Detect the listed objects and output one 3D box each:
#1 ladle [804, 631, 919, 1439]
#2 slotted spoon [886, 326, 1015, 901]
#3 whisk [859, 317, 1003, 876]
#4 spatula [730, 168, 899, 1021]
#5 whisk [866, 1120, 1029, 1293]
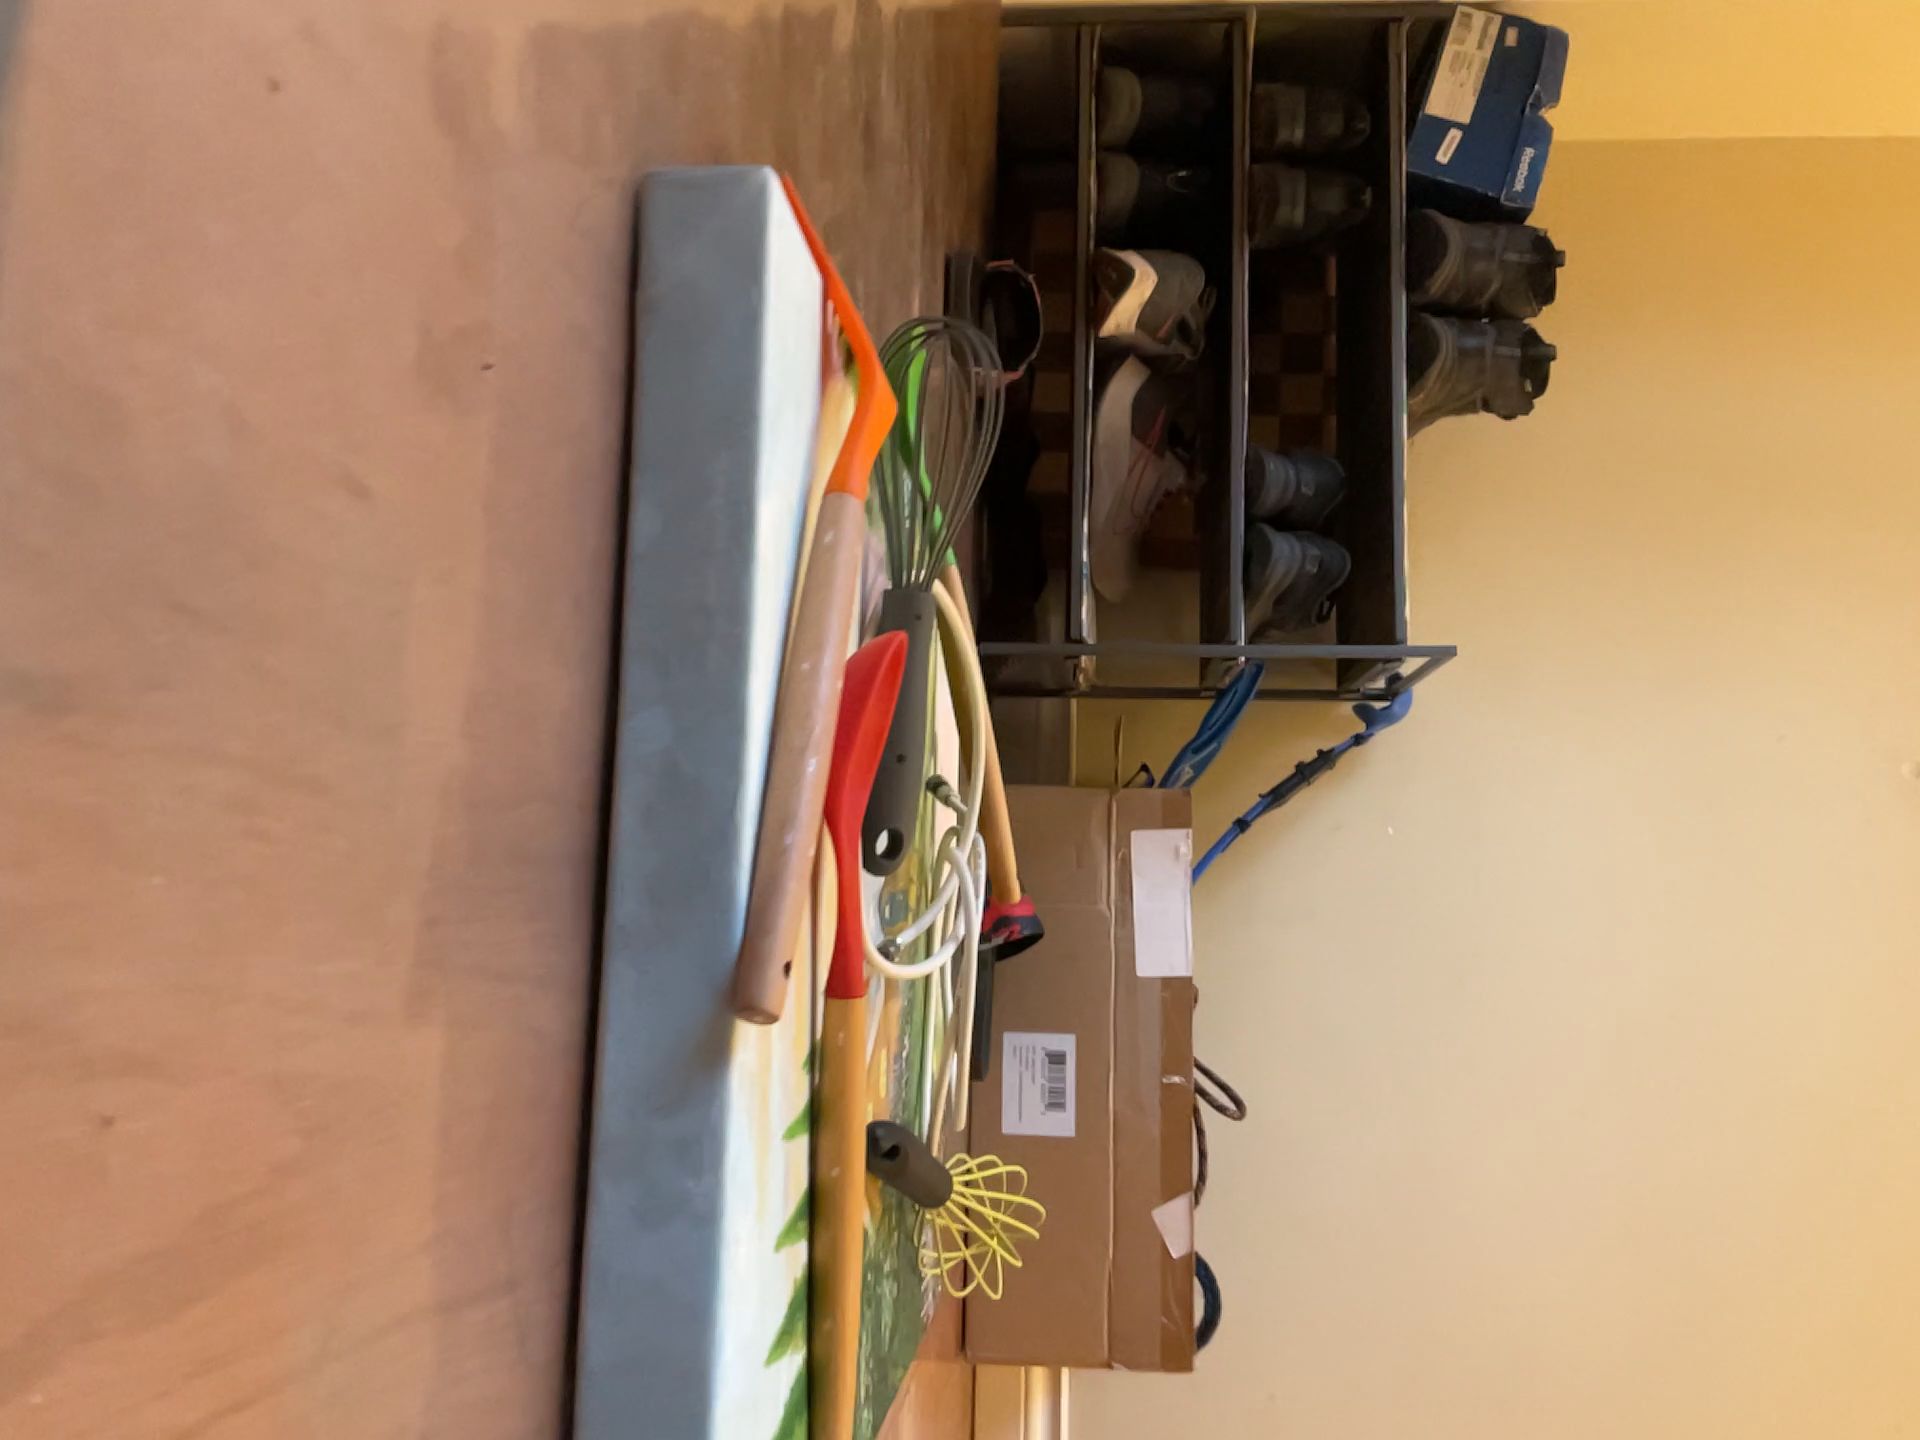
[{"bbox_3d":[-0.041,0.124,0.577,0.069,0.031,0.315,-5,99,-84],"label":"ladle"},{"bbox_3d":[-0.005,-0.059,0.856,0.070,0.031,0.314,48,32,-83],"label":"slotted spoon"},{"bbox_3d":[-0.019,-0.052,0.673,0.055,0.055,0.239,2,95,-74],"label":"whisk"},{"bbox_3d":[-0.051,-0.053,0.529,0.080,0.041,0.323,65,26,-53],"label":"spatula"},{"bbox_3d":[-0.011,0.243,0.819,0.311,0.067,0.080,68,18,-63],"label":"whisk"}]
